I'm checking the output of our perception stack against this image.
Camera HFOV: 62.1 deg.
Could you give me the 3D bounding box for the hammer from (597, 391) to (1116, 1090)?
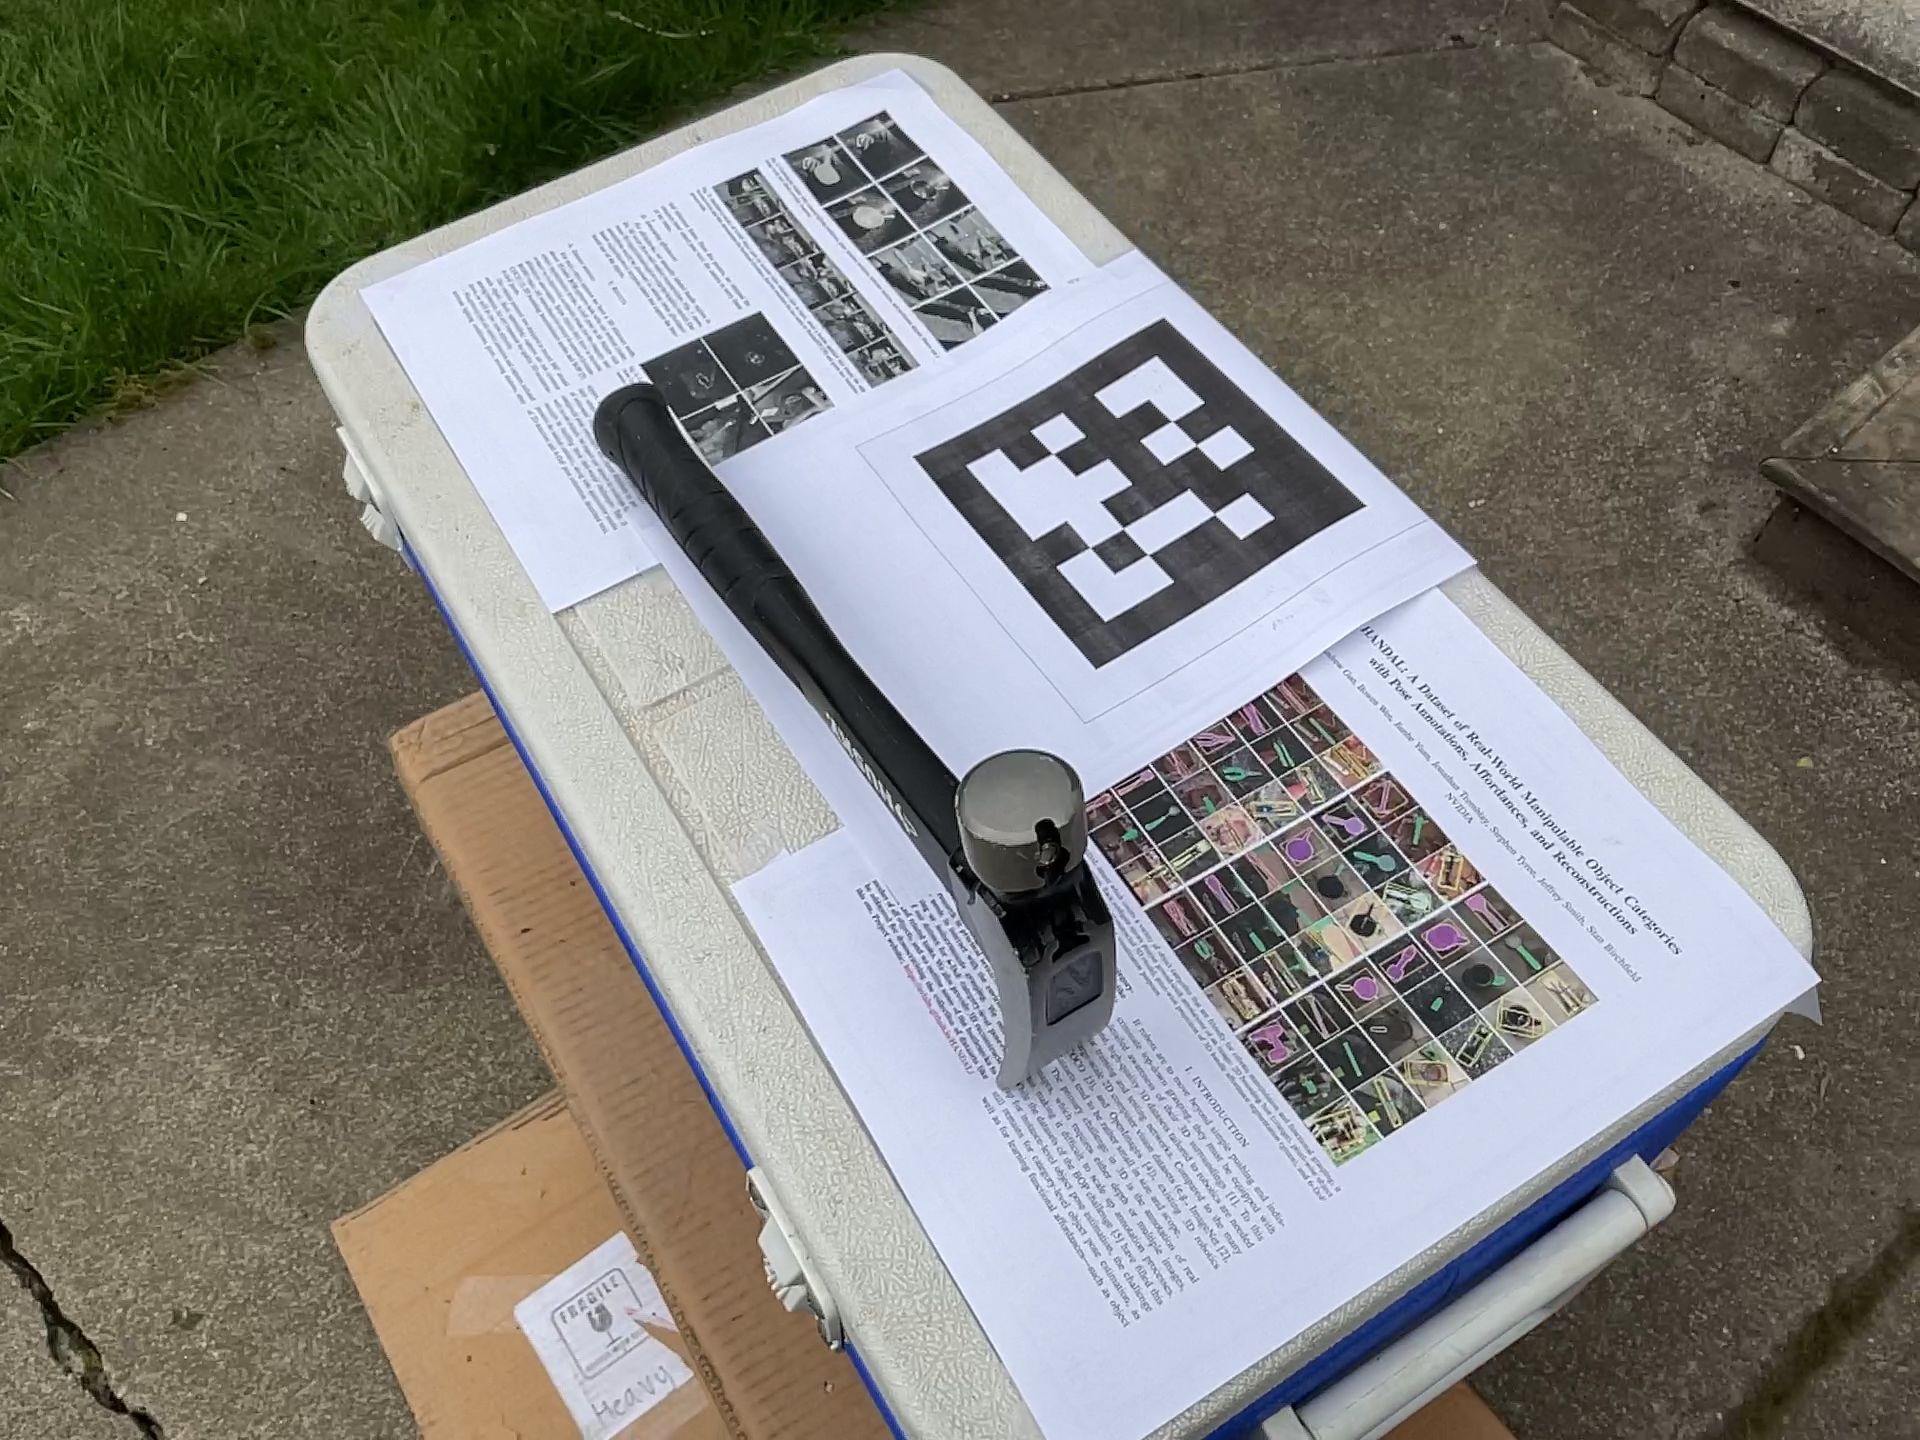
[{"bbox_3d":[-0.050,-0.018,0.545,0.035,0.146,0.335,-27,48,-15],"label":"hammer"}]
